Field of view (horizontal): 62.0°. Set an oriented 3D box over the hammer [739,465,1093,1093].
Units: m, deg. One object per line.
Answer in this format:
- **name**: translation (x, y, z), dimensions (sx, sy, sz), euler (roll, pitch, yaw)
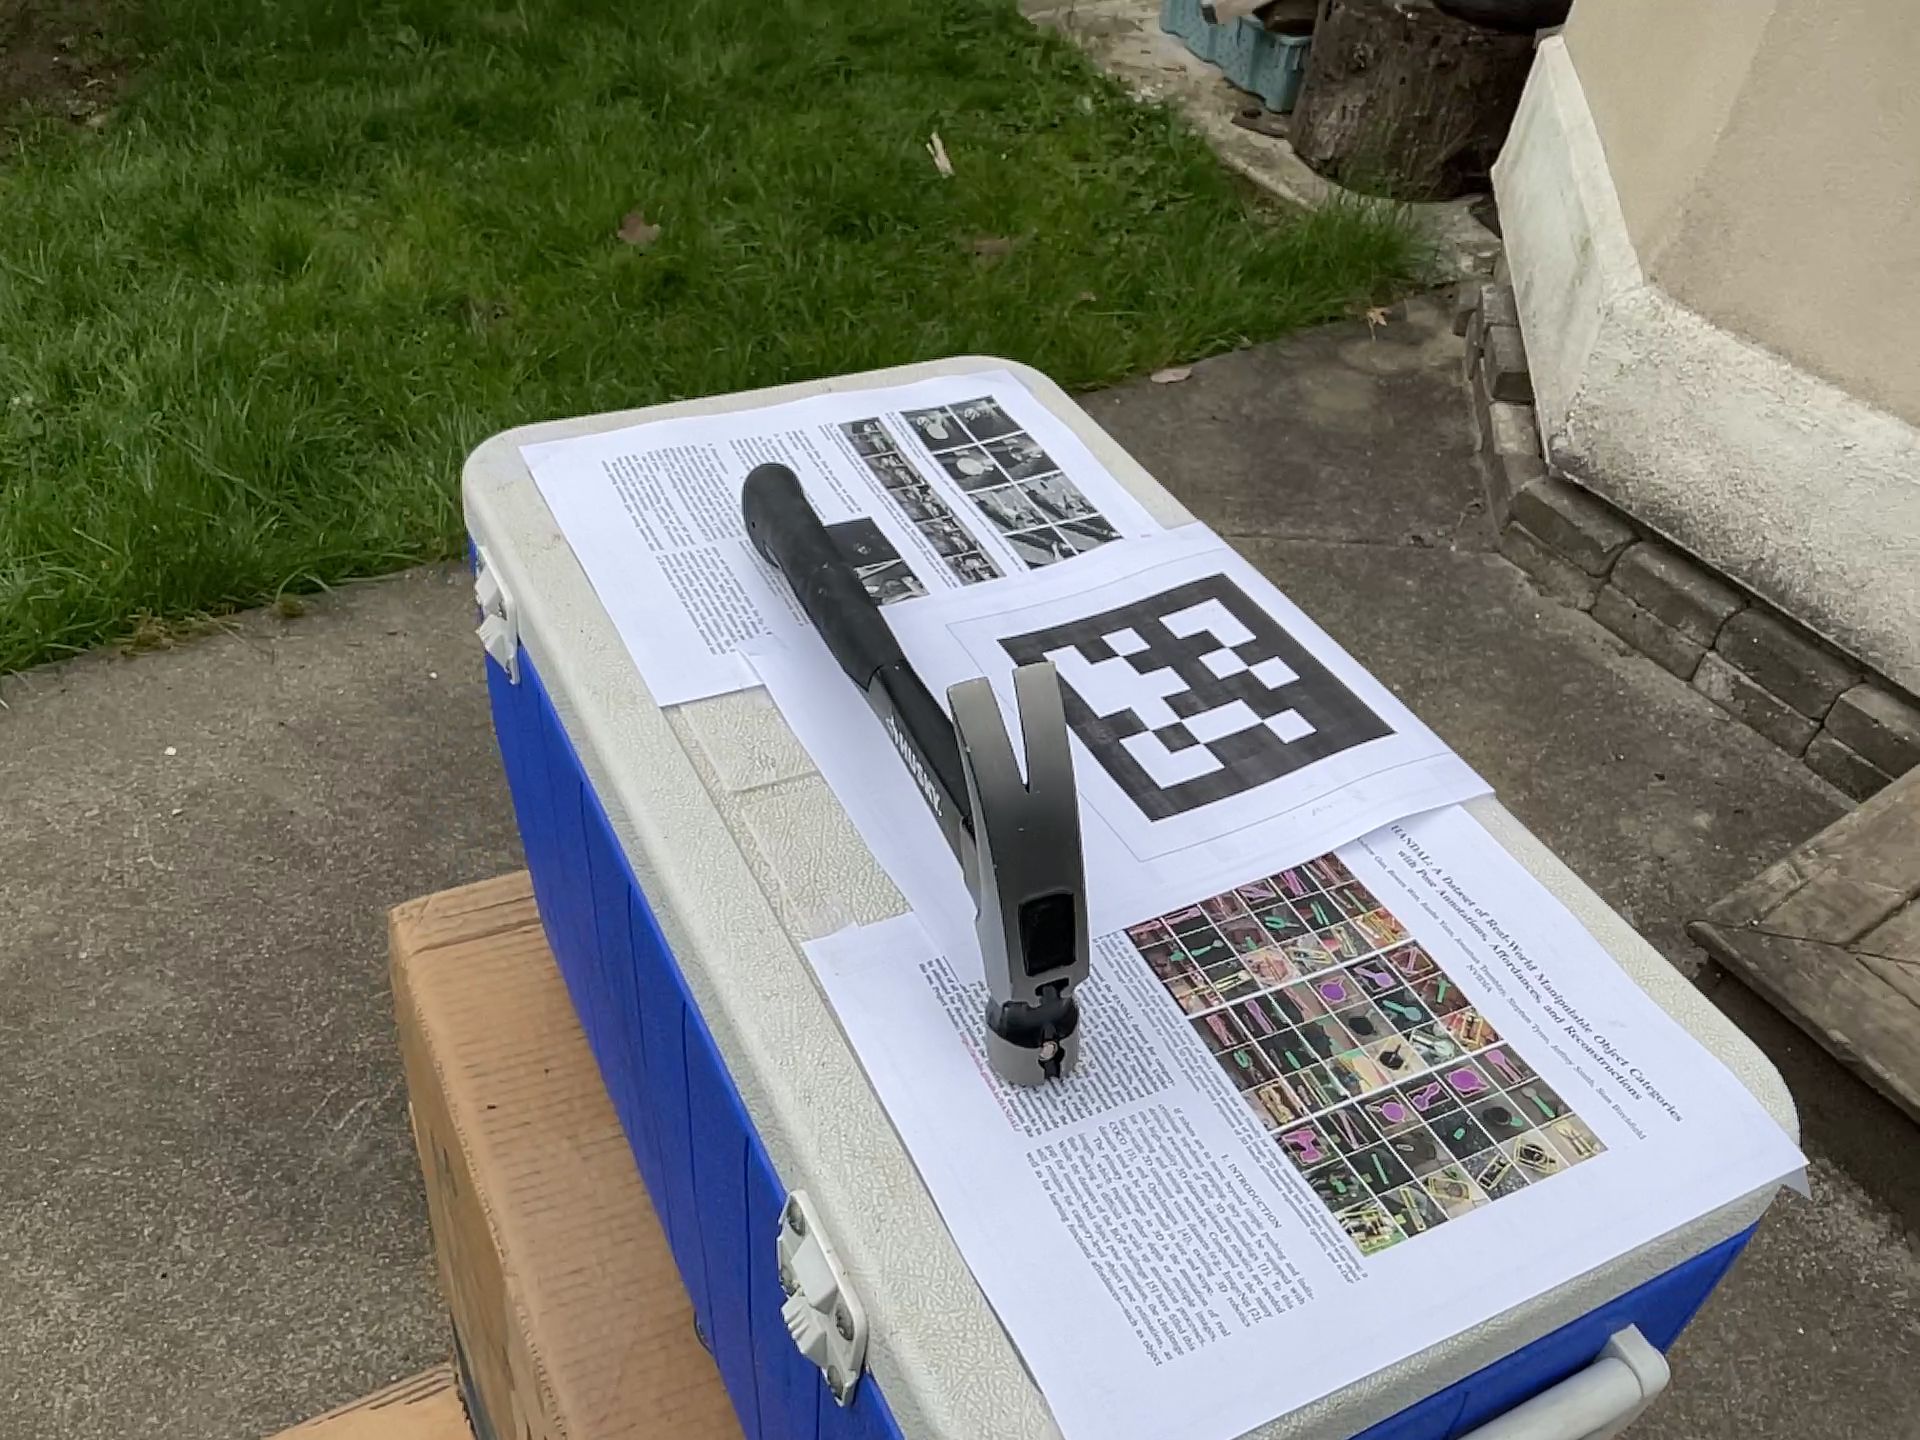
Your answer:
- **hammer**: translation (-0.031, -0.022, 0.617), dimensions (0.035, 0.146, 0.335), euler (-14, 36, -15)
